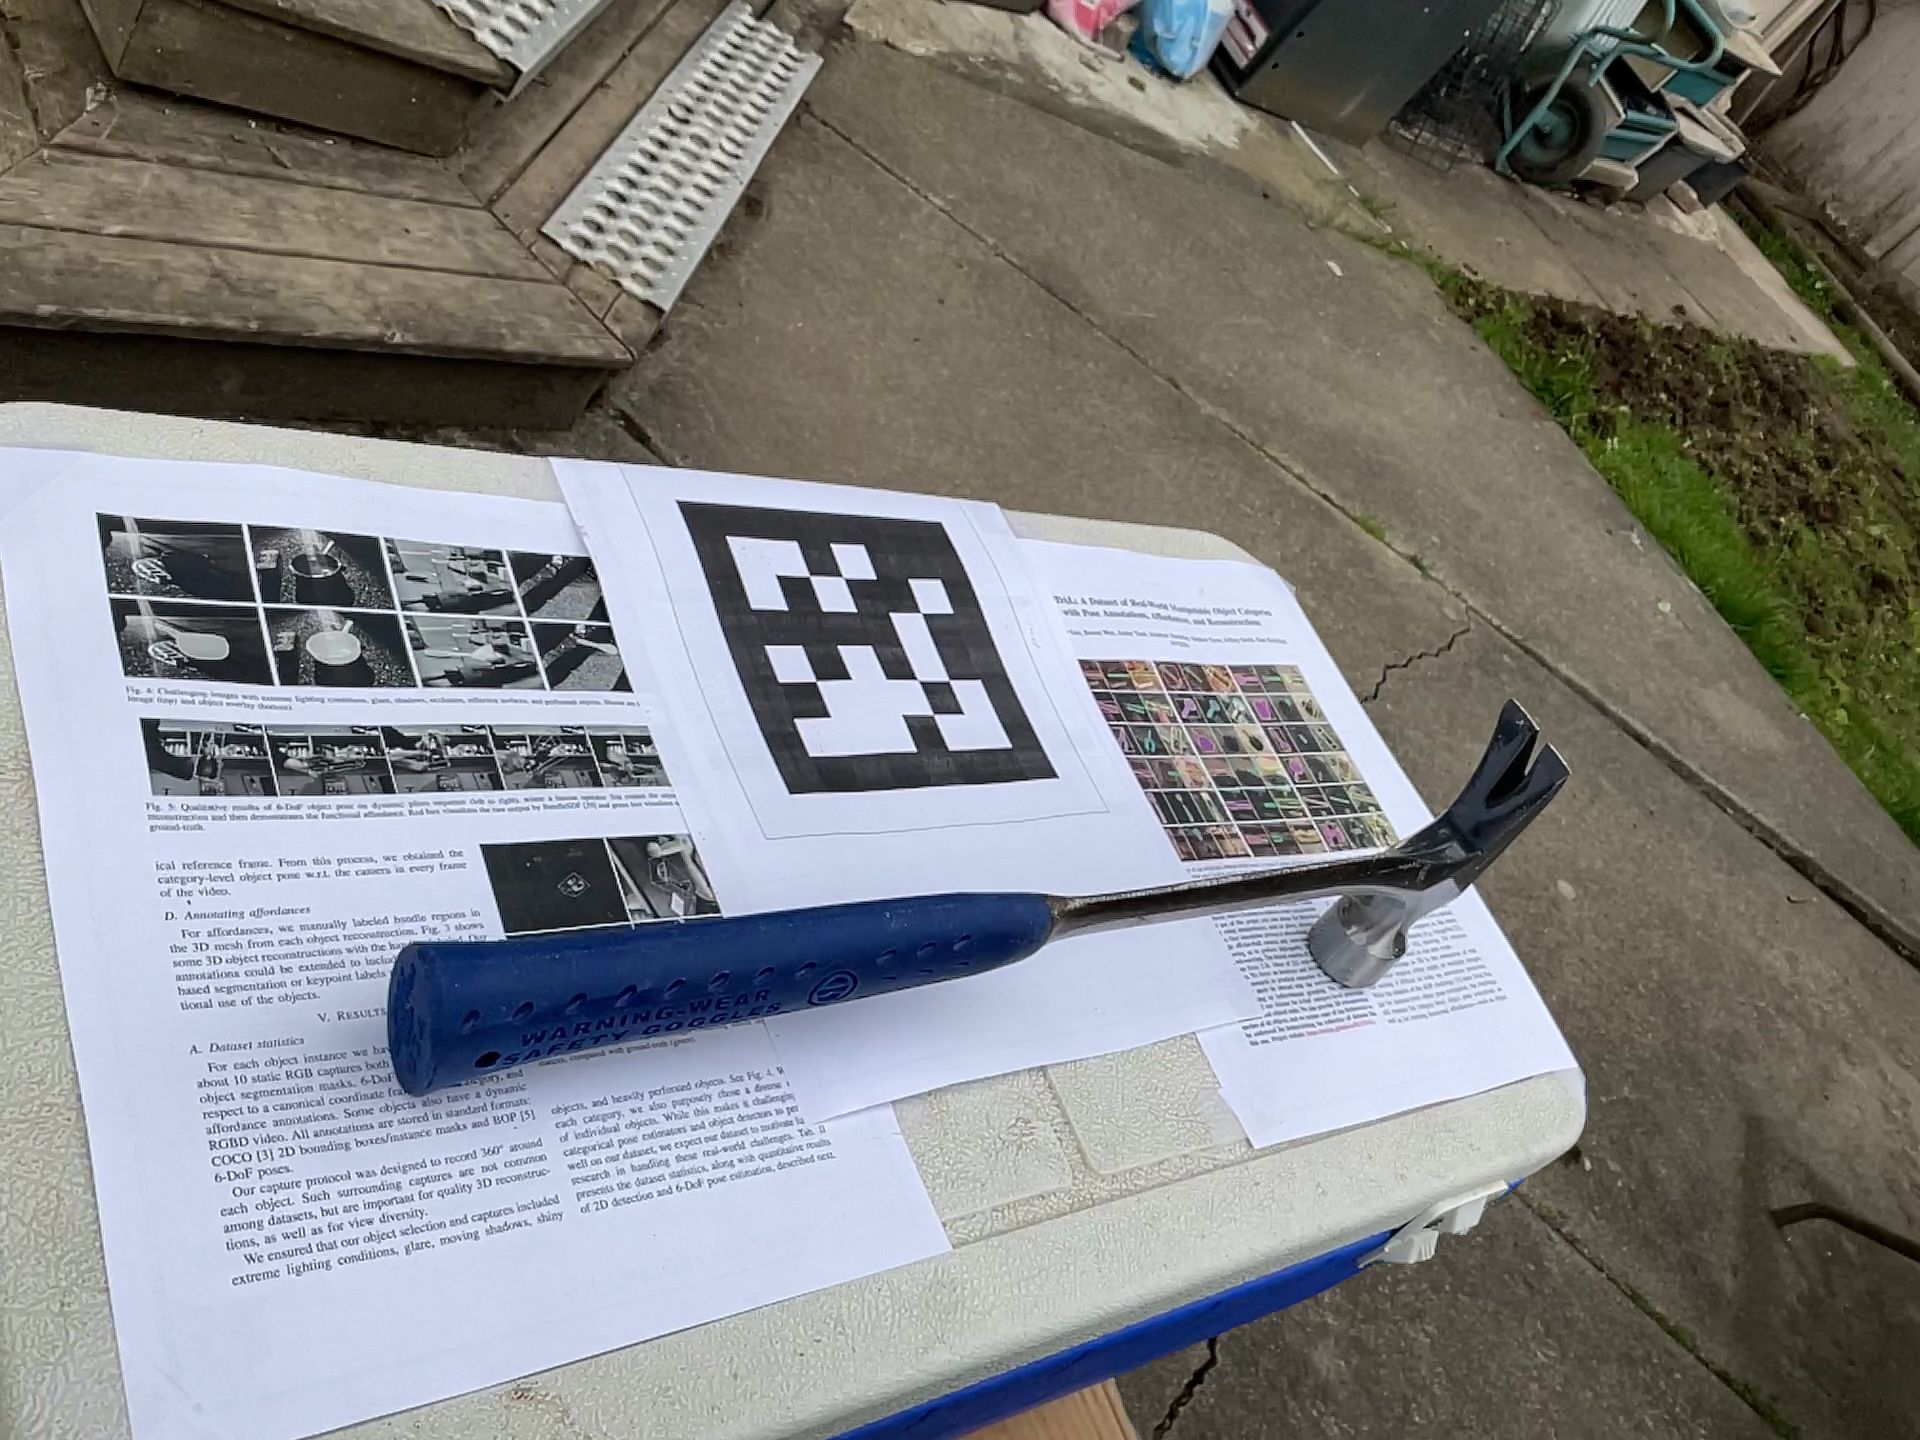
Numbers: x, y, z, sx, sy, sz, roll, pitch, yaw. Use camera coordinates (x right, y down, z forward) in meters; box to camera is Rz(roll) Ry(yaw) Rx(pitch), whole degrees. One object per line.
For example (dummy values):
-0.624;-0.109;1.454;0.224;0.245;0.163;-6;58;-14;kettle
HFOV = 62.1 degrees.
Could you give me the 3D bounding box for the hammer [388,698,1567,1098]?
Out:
0.032;0.060;0.504;0.405;0.144;0.035;-3;50;-35;hammer
